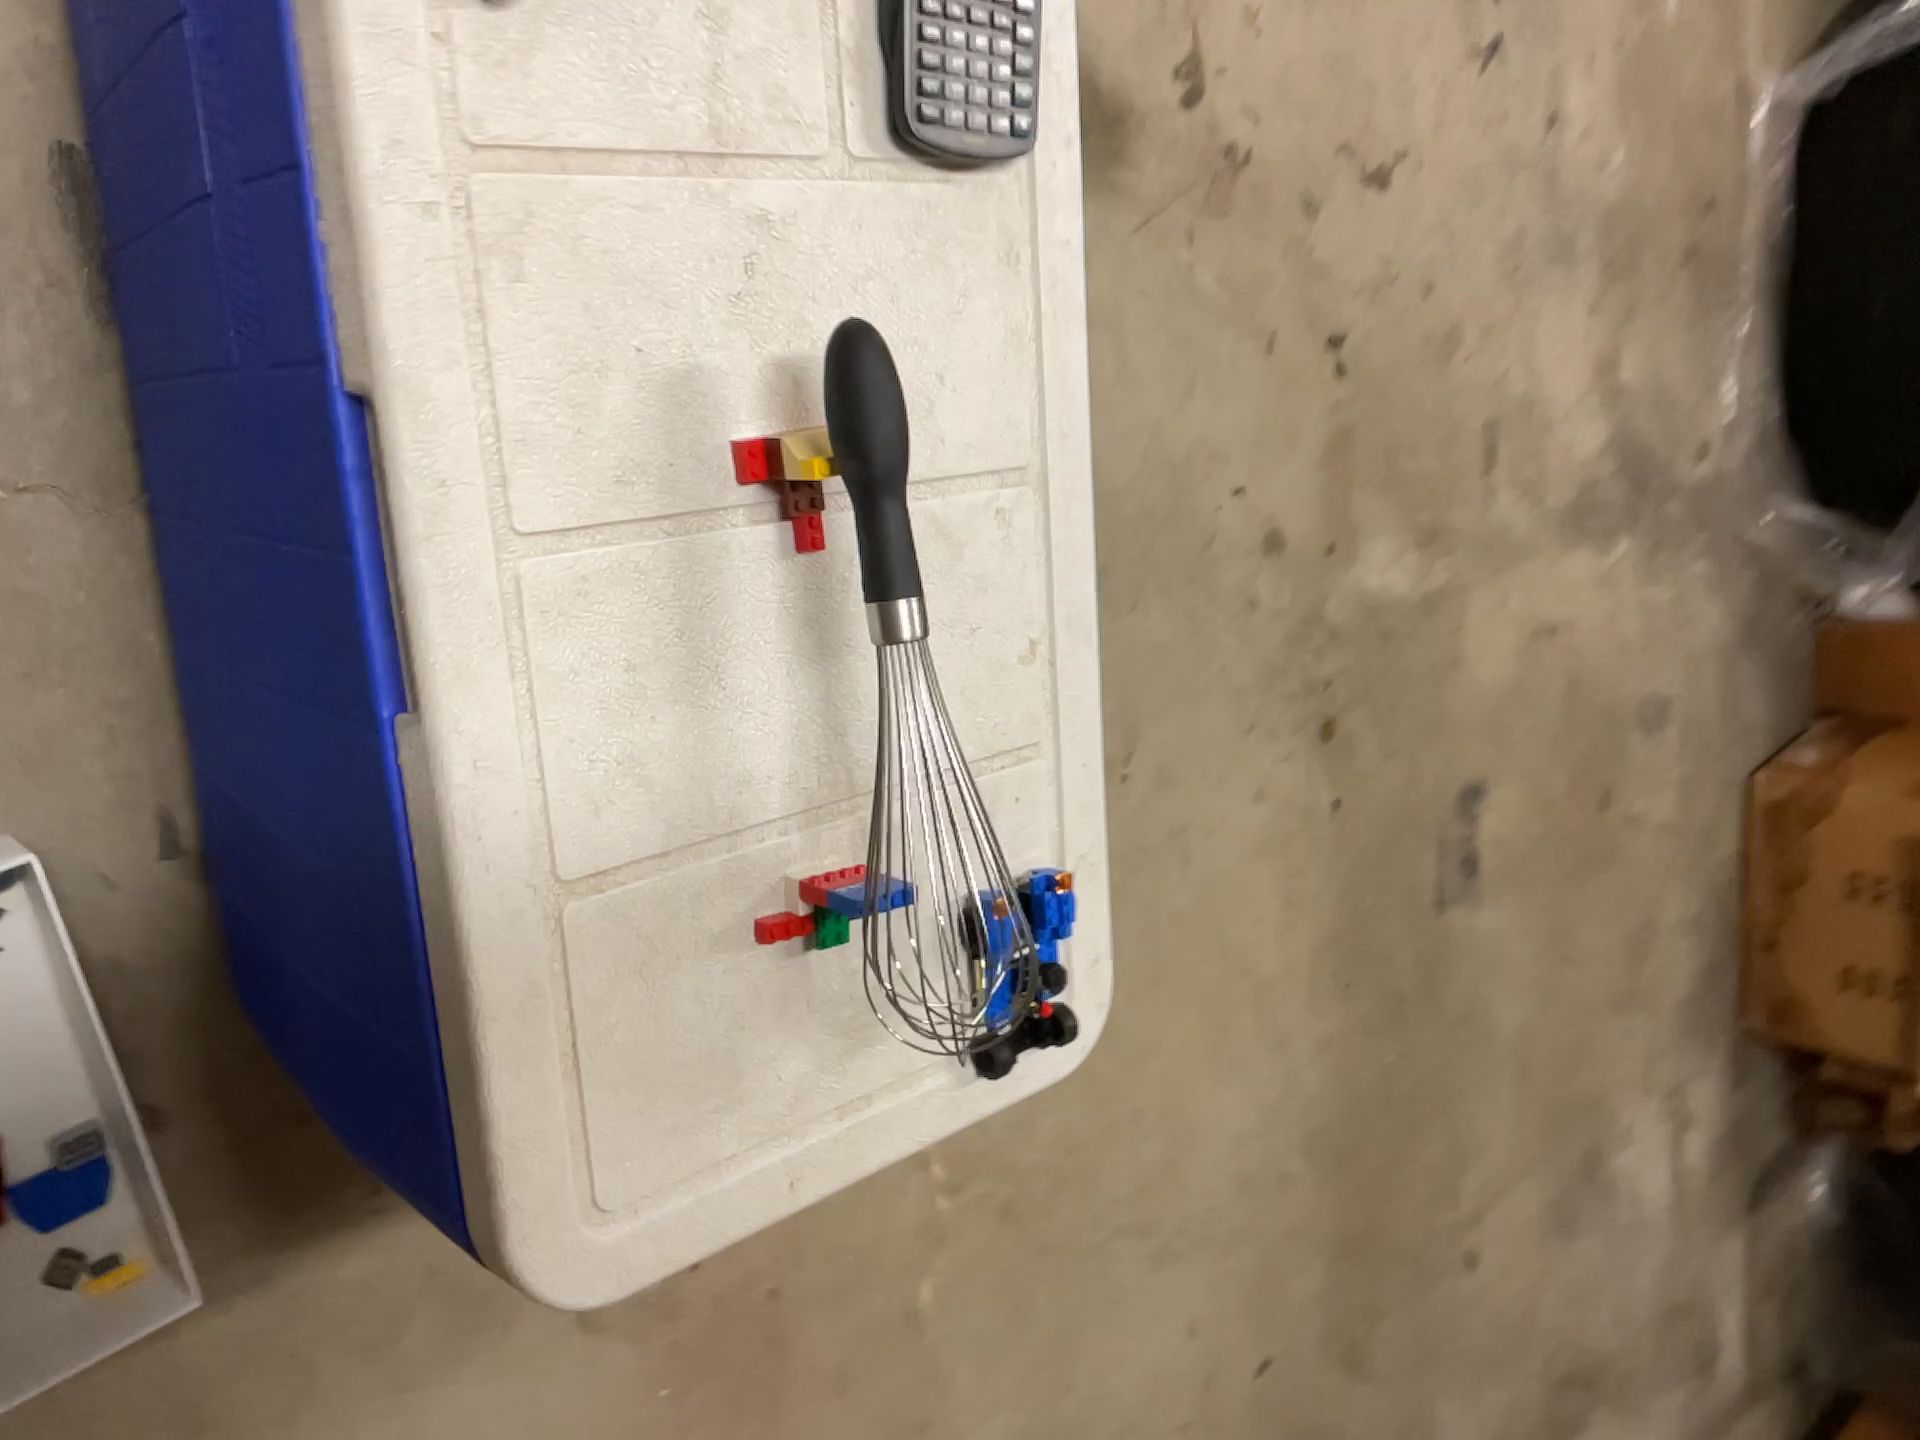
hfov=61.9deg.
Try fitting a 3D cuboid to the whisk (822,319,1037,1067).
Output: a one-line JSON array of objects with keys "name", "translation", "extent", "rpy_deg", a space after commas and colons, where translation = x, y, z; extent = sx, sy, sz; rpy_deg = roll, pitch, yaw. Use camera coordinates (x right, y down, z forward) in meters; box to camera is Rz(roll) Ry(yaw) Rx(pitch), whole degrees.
[{"name": "whisk", "translation": [-0.019, -0.006, 0.602], "extent": [0.070, 0.070, 0.284], "rpy_deg": [-15, 101, -35]}]
